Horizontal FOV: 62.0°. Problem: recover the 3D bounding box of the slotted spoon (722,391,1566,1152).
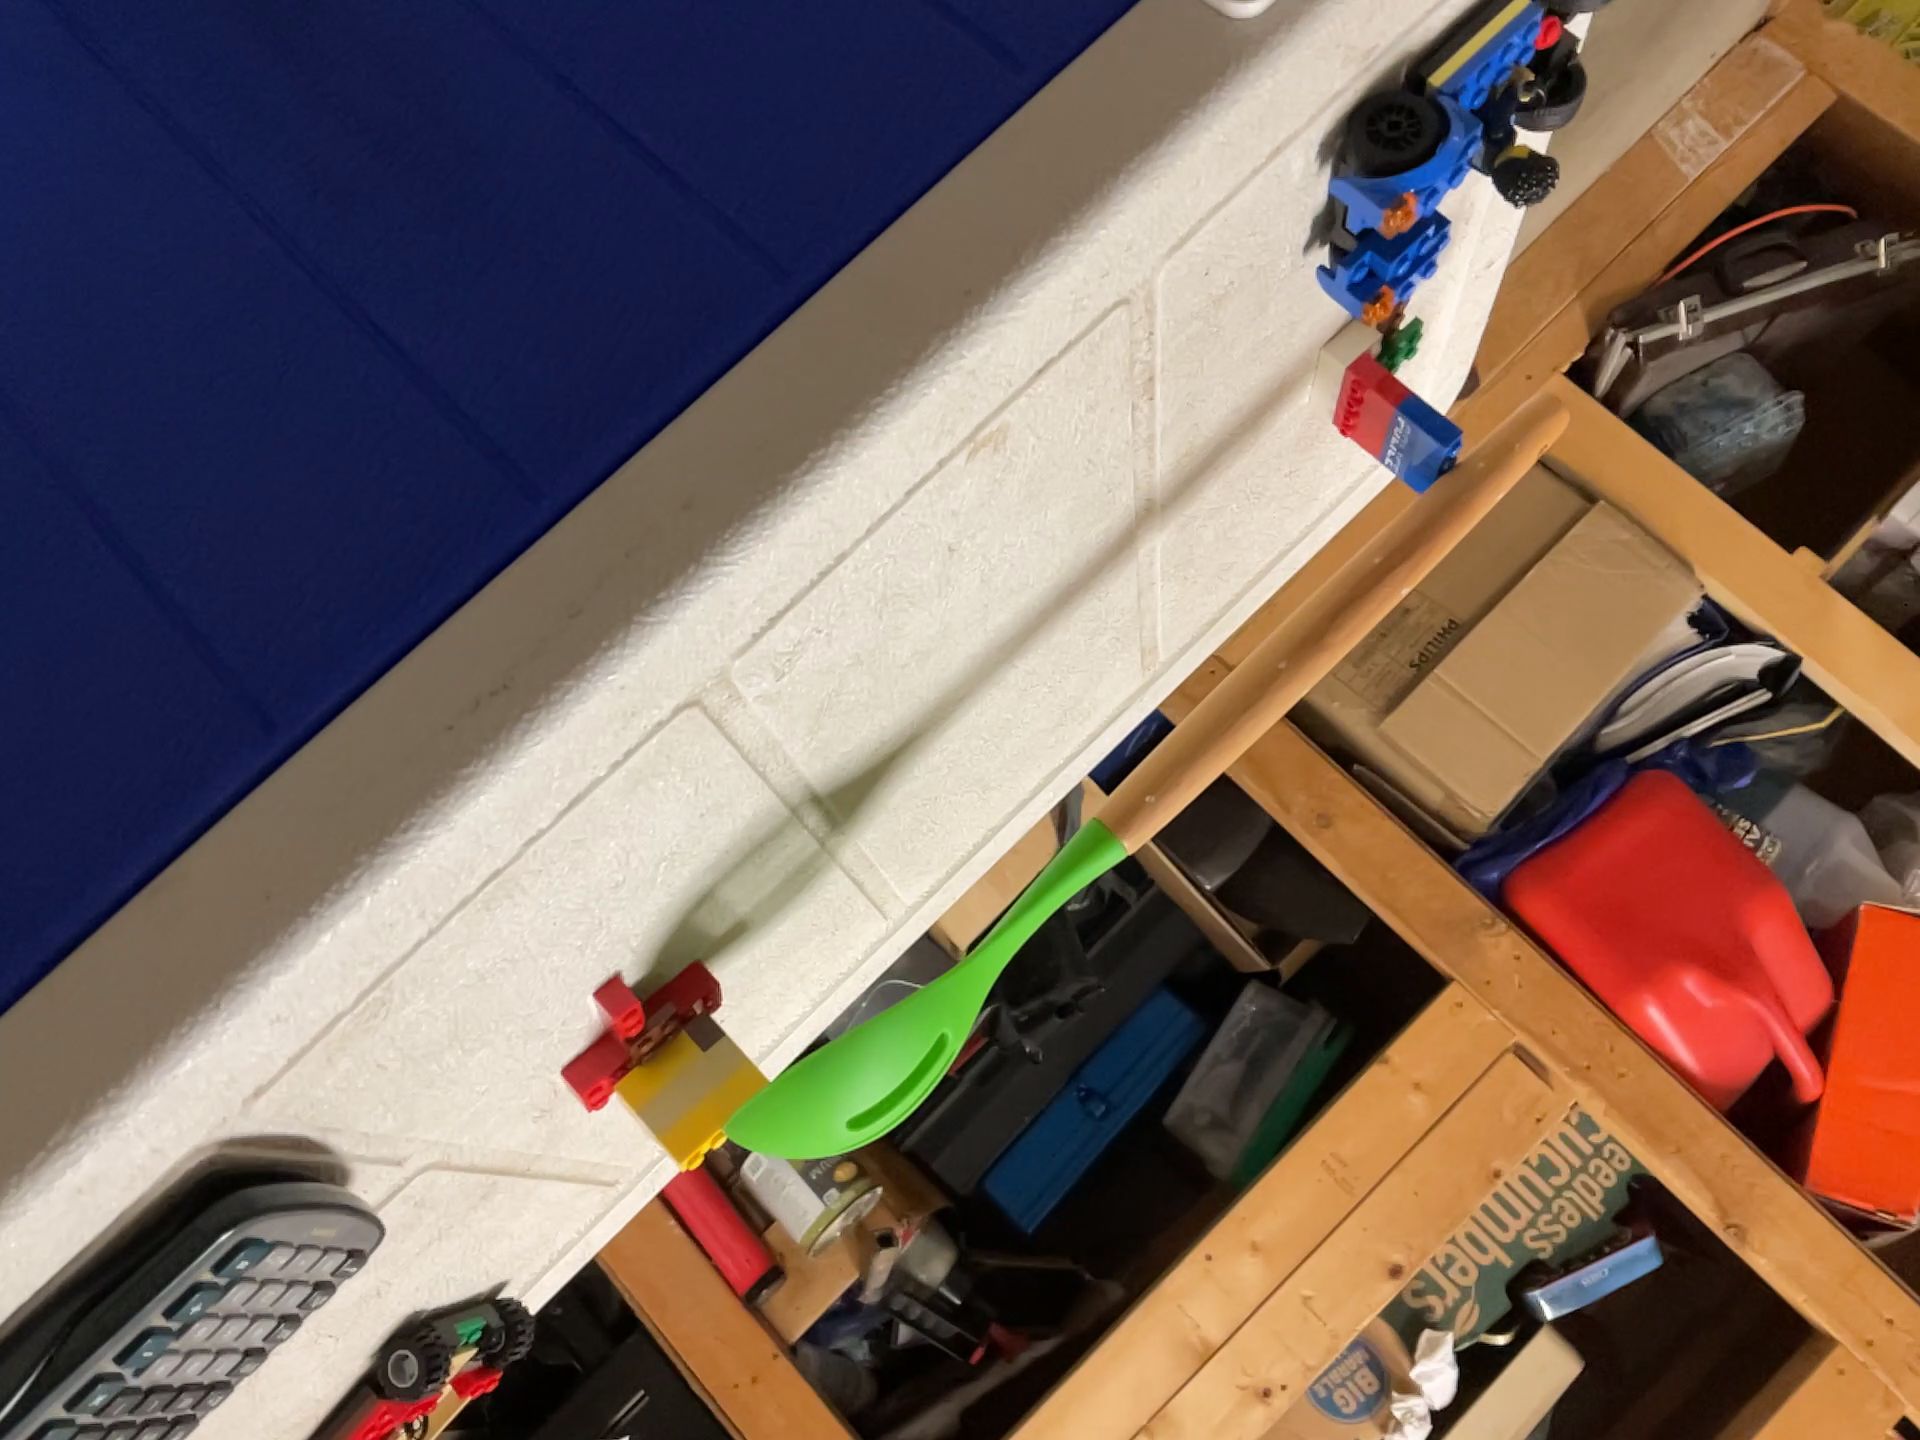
[{"bbox_3d":[0.060,0.013,0.448,0.314,0.031,0.070,-43,161,-7],"label":"slotted spoon"}]
